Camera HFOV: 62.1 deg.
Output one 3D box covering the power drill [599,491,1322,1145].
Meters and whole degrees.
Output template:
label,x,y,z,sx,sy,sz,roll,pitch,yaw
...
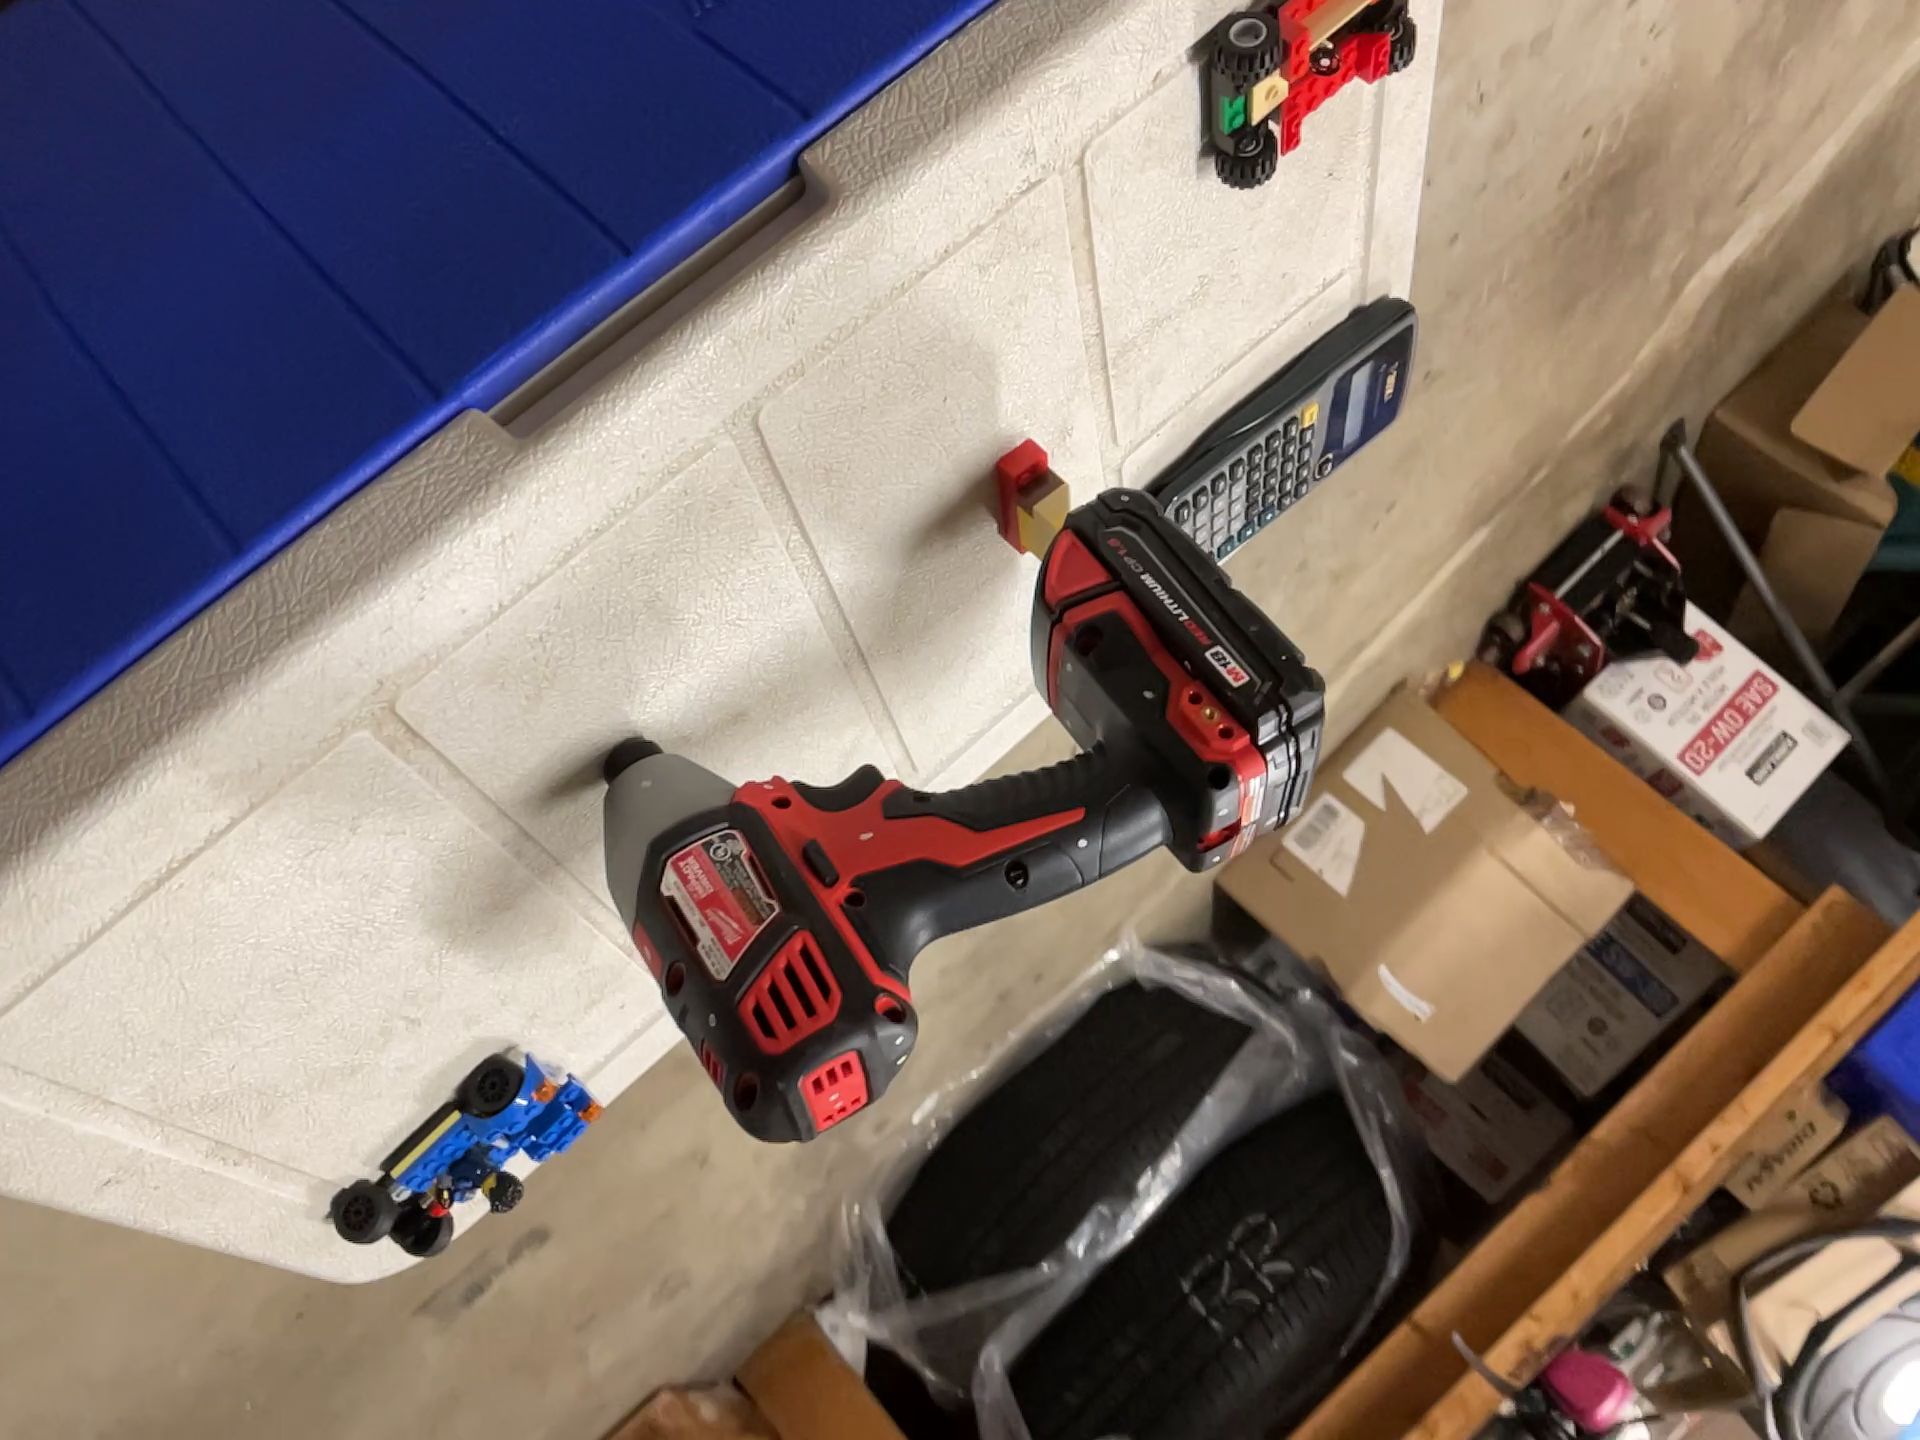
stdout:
label,x,y,z,sx,sy,sz,roll,pitch,yaw
power drill,-0.006,0.023,0.516,0.220,0.143,0.078,-30,149,-16
